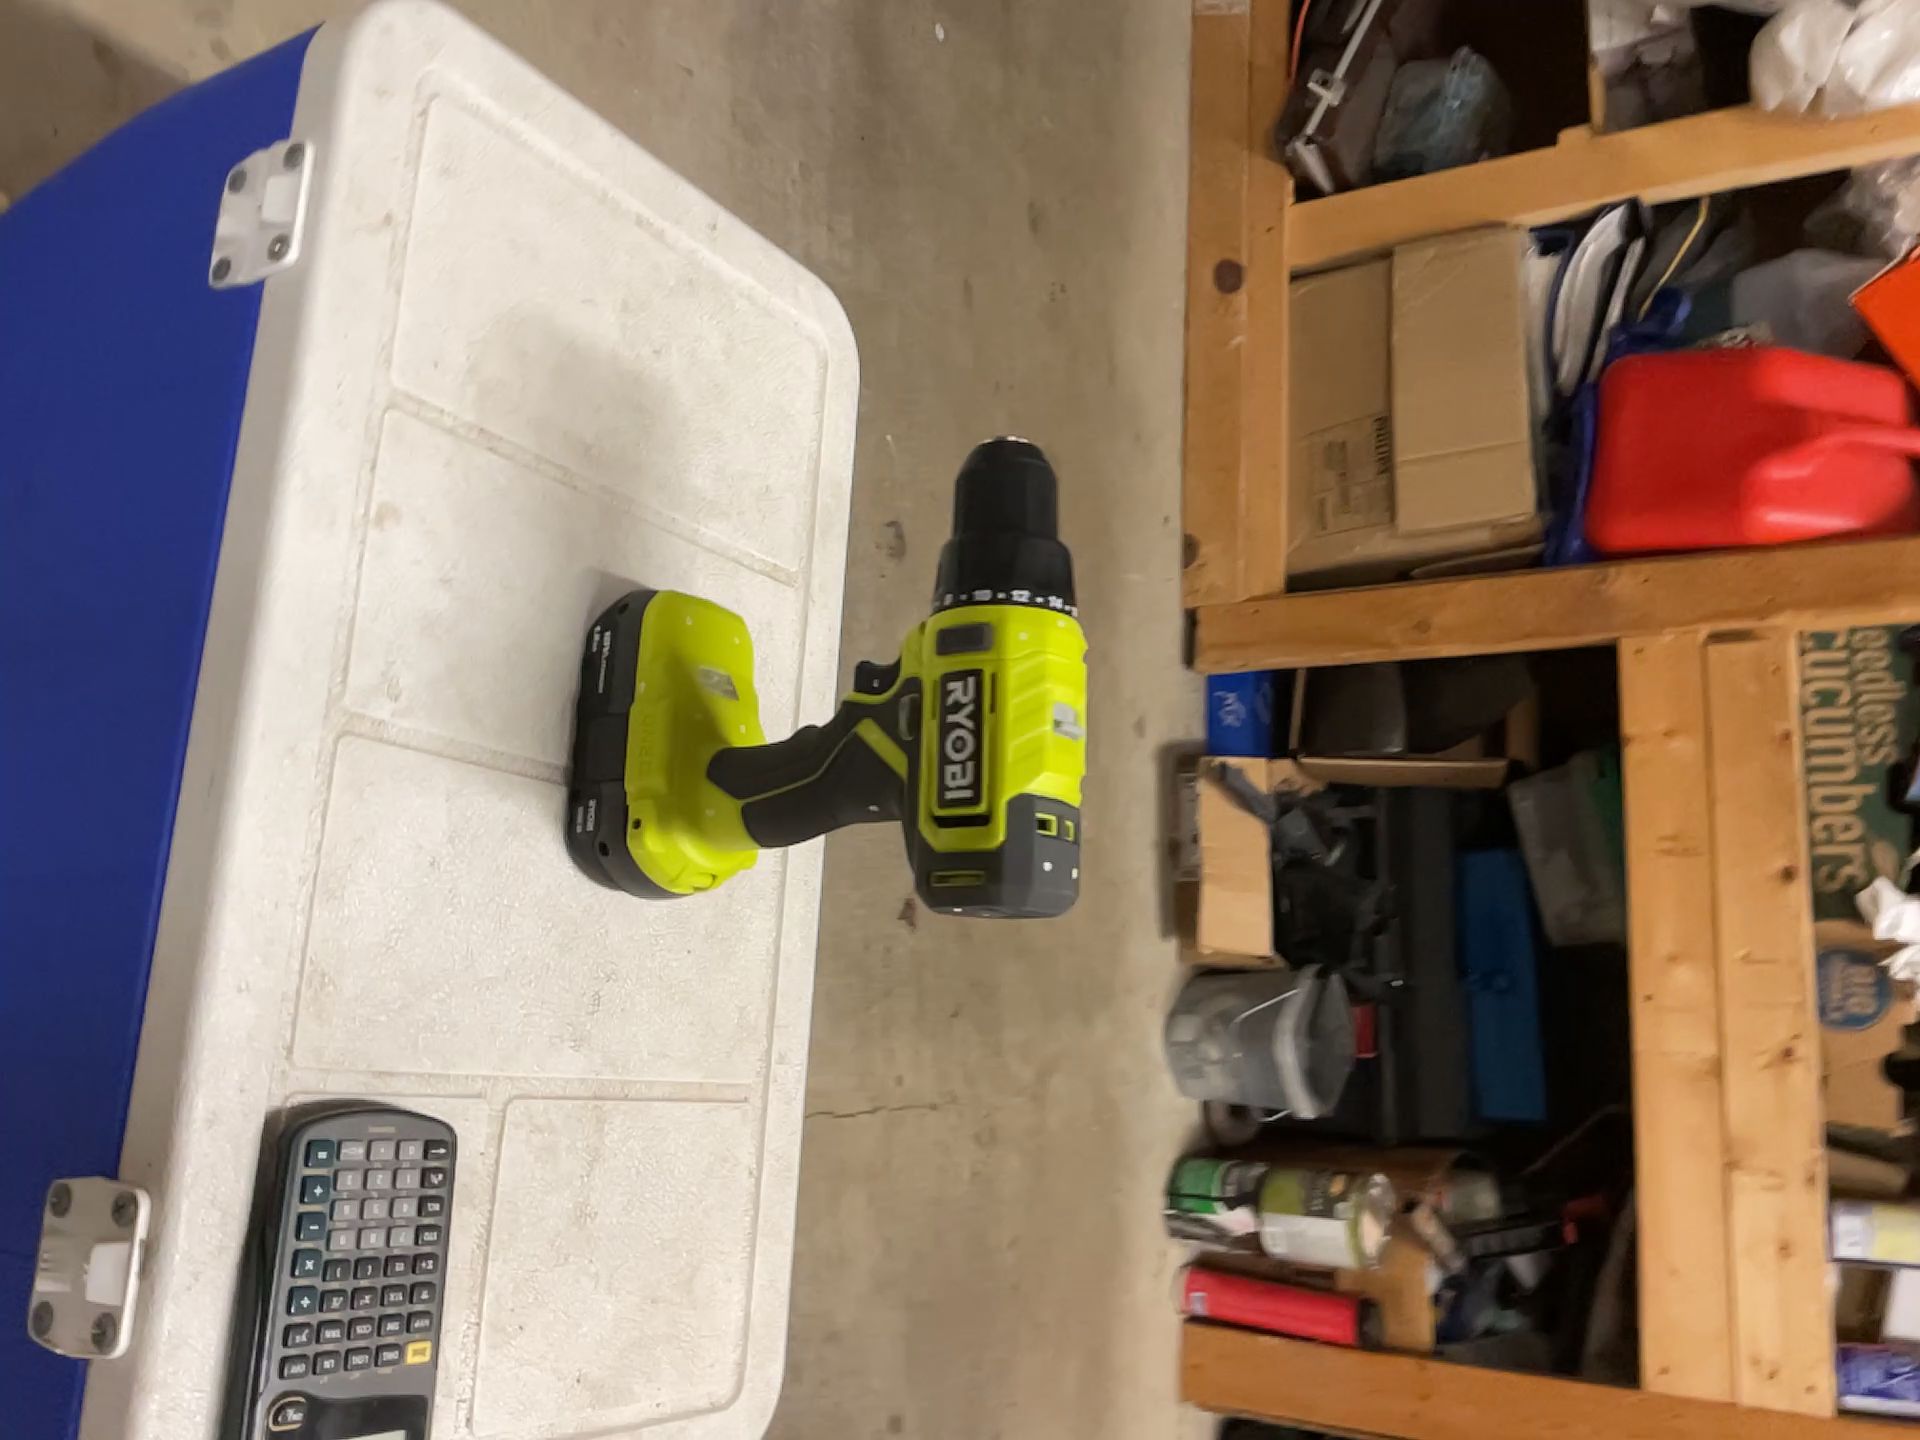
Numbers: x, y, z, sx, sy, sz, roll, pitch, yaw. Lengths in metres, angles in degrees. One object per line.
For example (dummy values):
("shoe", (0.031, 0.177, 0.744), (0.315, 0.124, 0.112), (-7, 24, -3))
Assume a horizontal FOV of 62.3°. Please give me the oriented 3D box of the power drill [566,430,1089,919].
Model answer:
("power drill", (-0.051, -0.012, 0.663), (0.080, 0.228, 0.191), (20, 67, -55))
